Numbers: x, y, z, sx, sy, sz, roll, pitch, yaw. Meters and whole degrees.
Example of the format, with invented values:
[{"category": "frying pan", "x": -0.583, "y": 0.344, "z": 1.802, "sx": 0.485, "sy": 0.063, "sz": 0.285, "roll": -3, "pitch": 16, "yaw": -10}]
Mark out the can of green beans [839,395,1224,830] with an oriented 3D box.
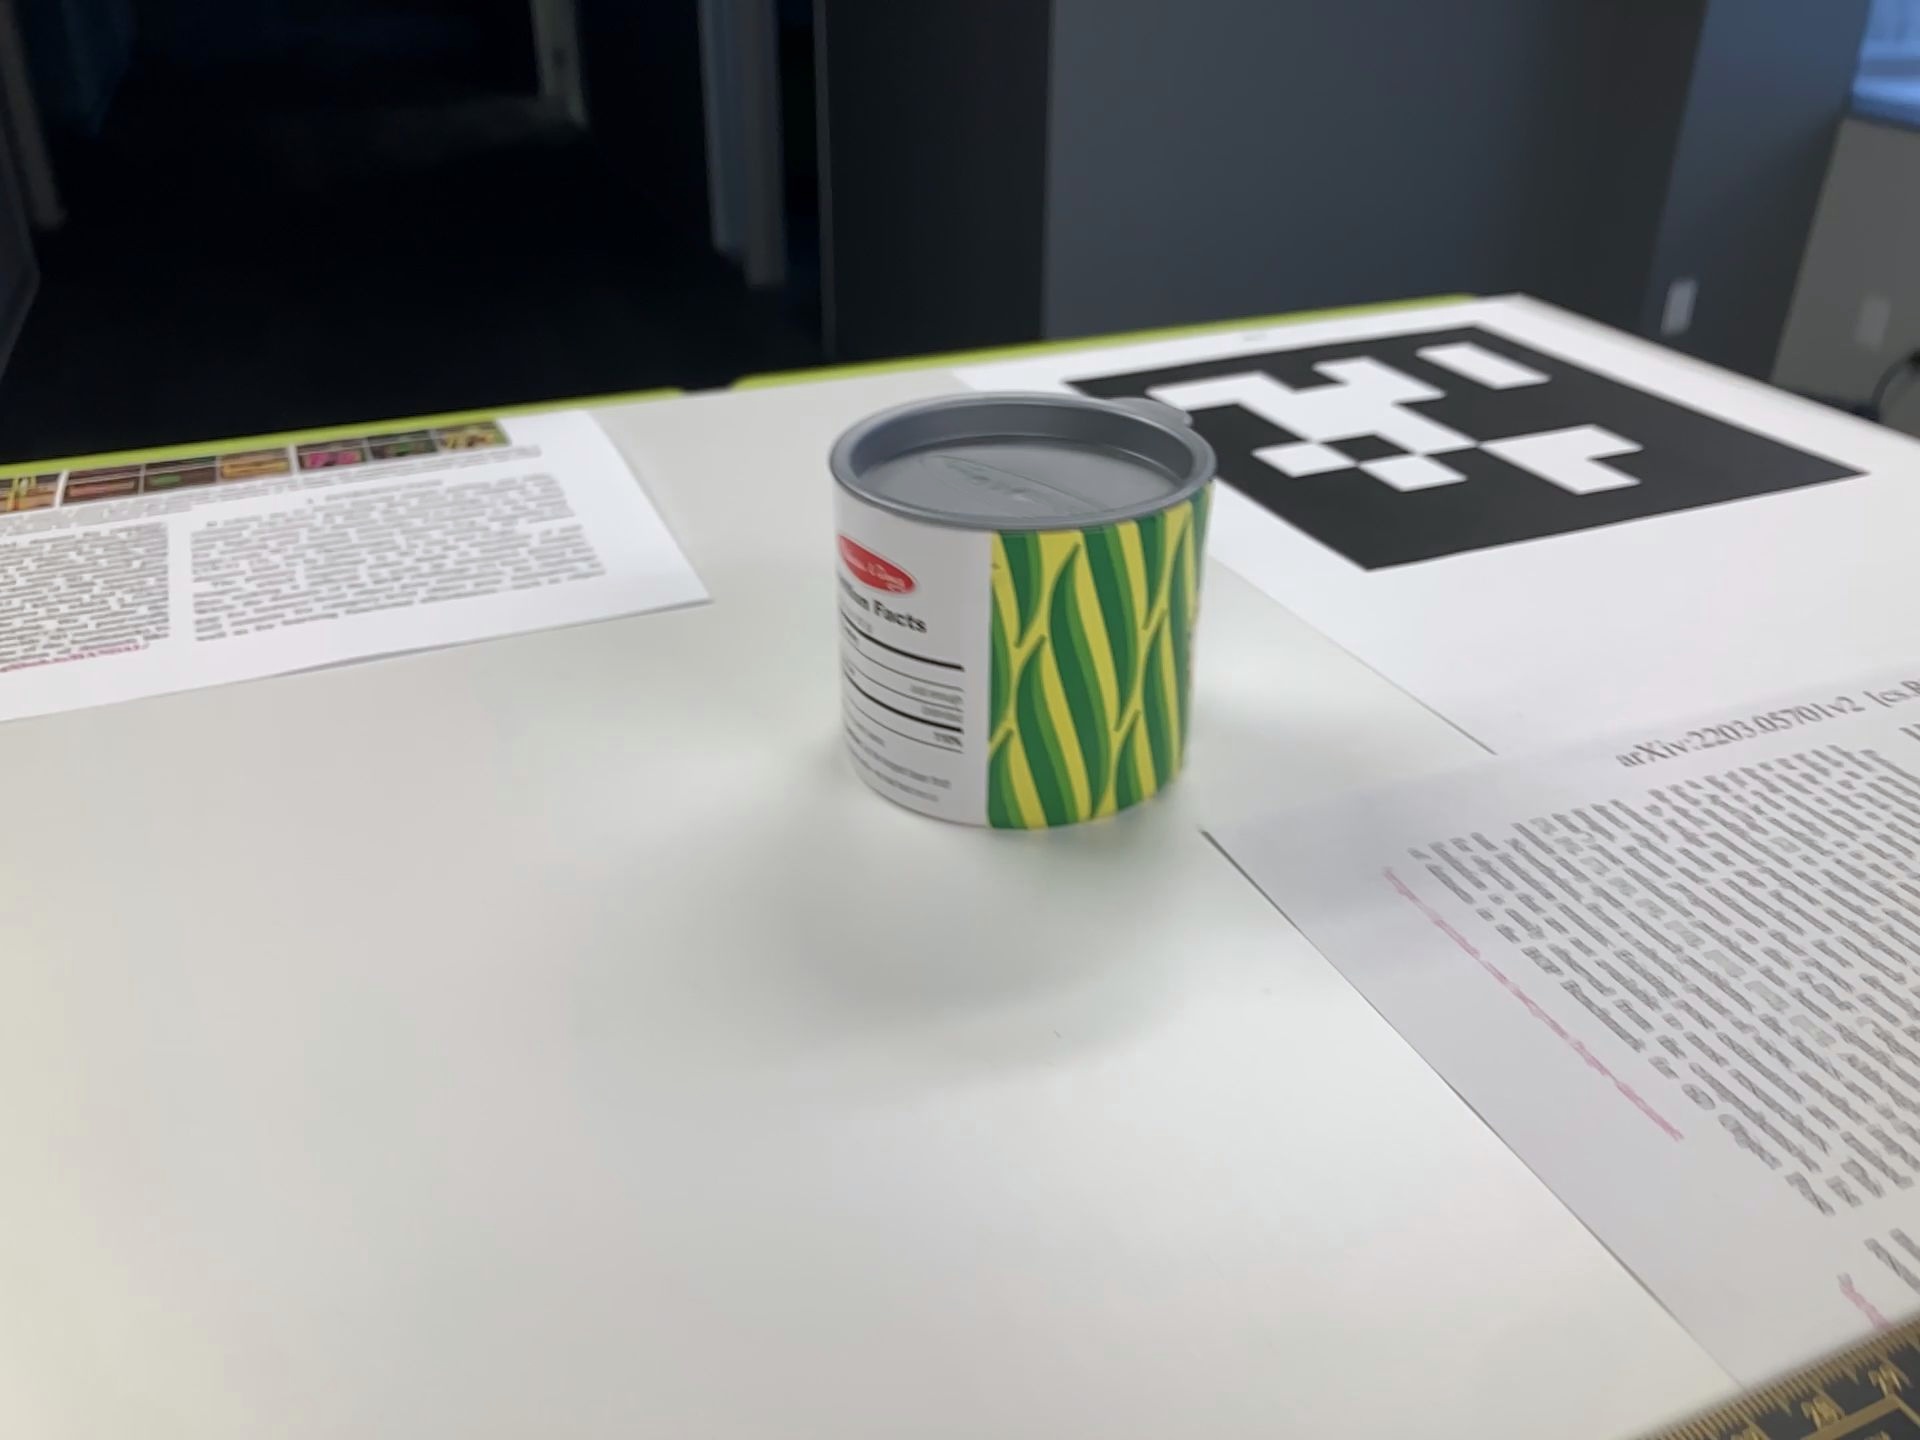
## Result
[{"category": "can of green beans", "x": 0.012, "y": -0.021, "z": 0.291, "sx": 0.071, "sy": 0.058, "sz": 0.071, "roll": 0, "pitch": 29, "yaw": 0}]
